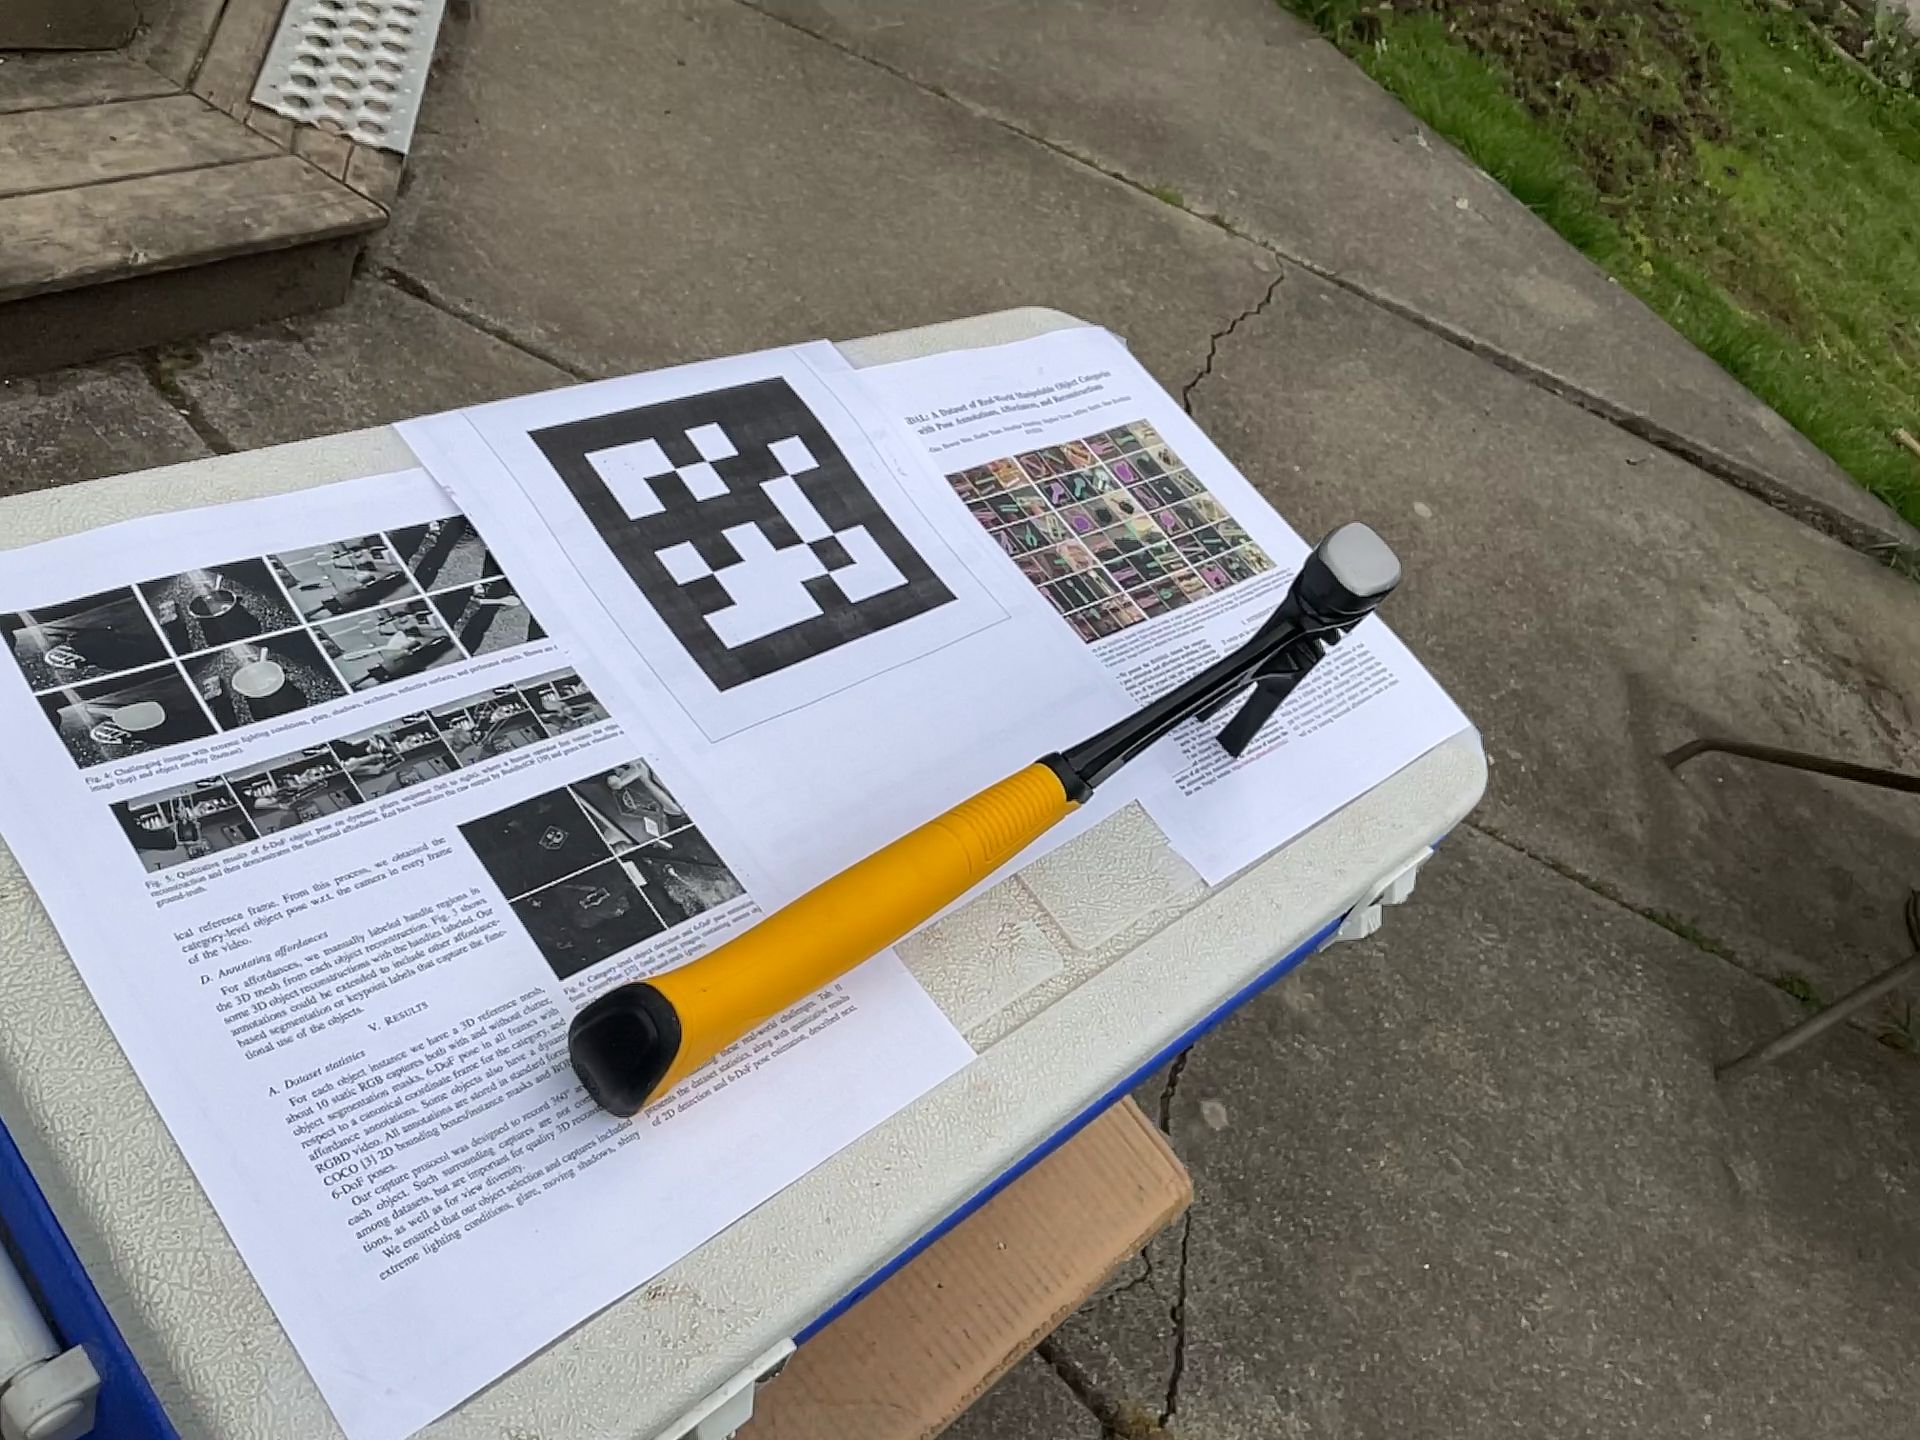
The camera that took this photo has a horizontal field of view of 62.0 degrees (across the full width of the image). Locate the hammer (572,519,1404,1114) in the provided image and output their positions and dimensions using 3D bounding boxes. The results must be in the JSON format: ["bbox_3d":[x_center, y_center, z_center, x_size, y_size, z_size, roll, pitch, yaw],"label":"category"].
[{"bbox_3d":[0.017,0.033,0.541,0.337,0.127,0.034,-29,72,-34],"label":"hammer"}]
